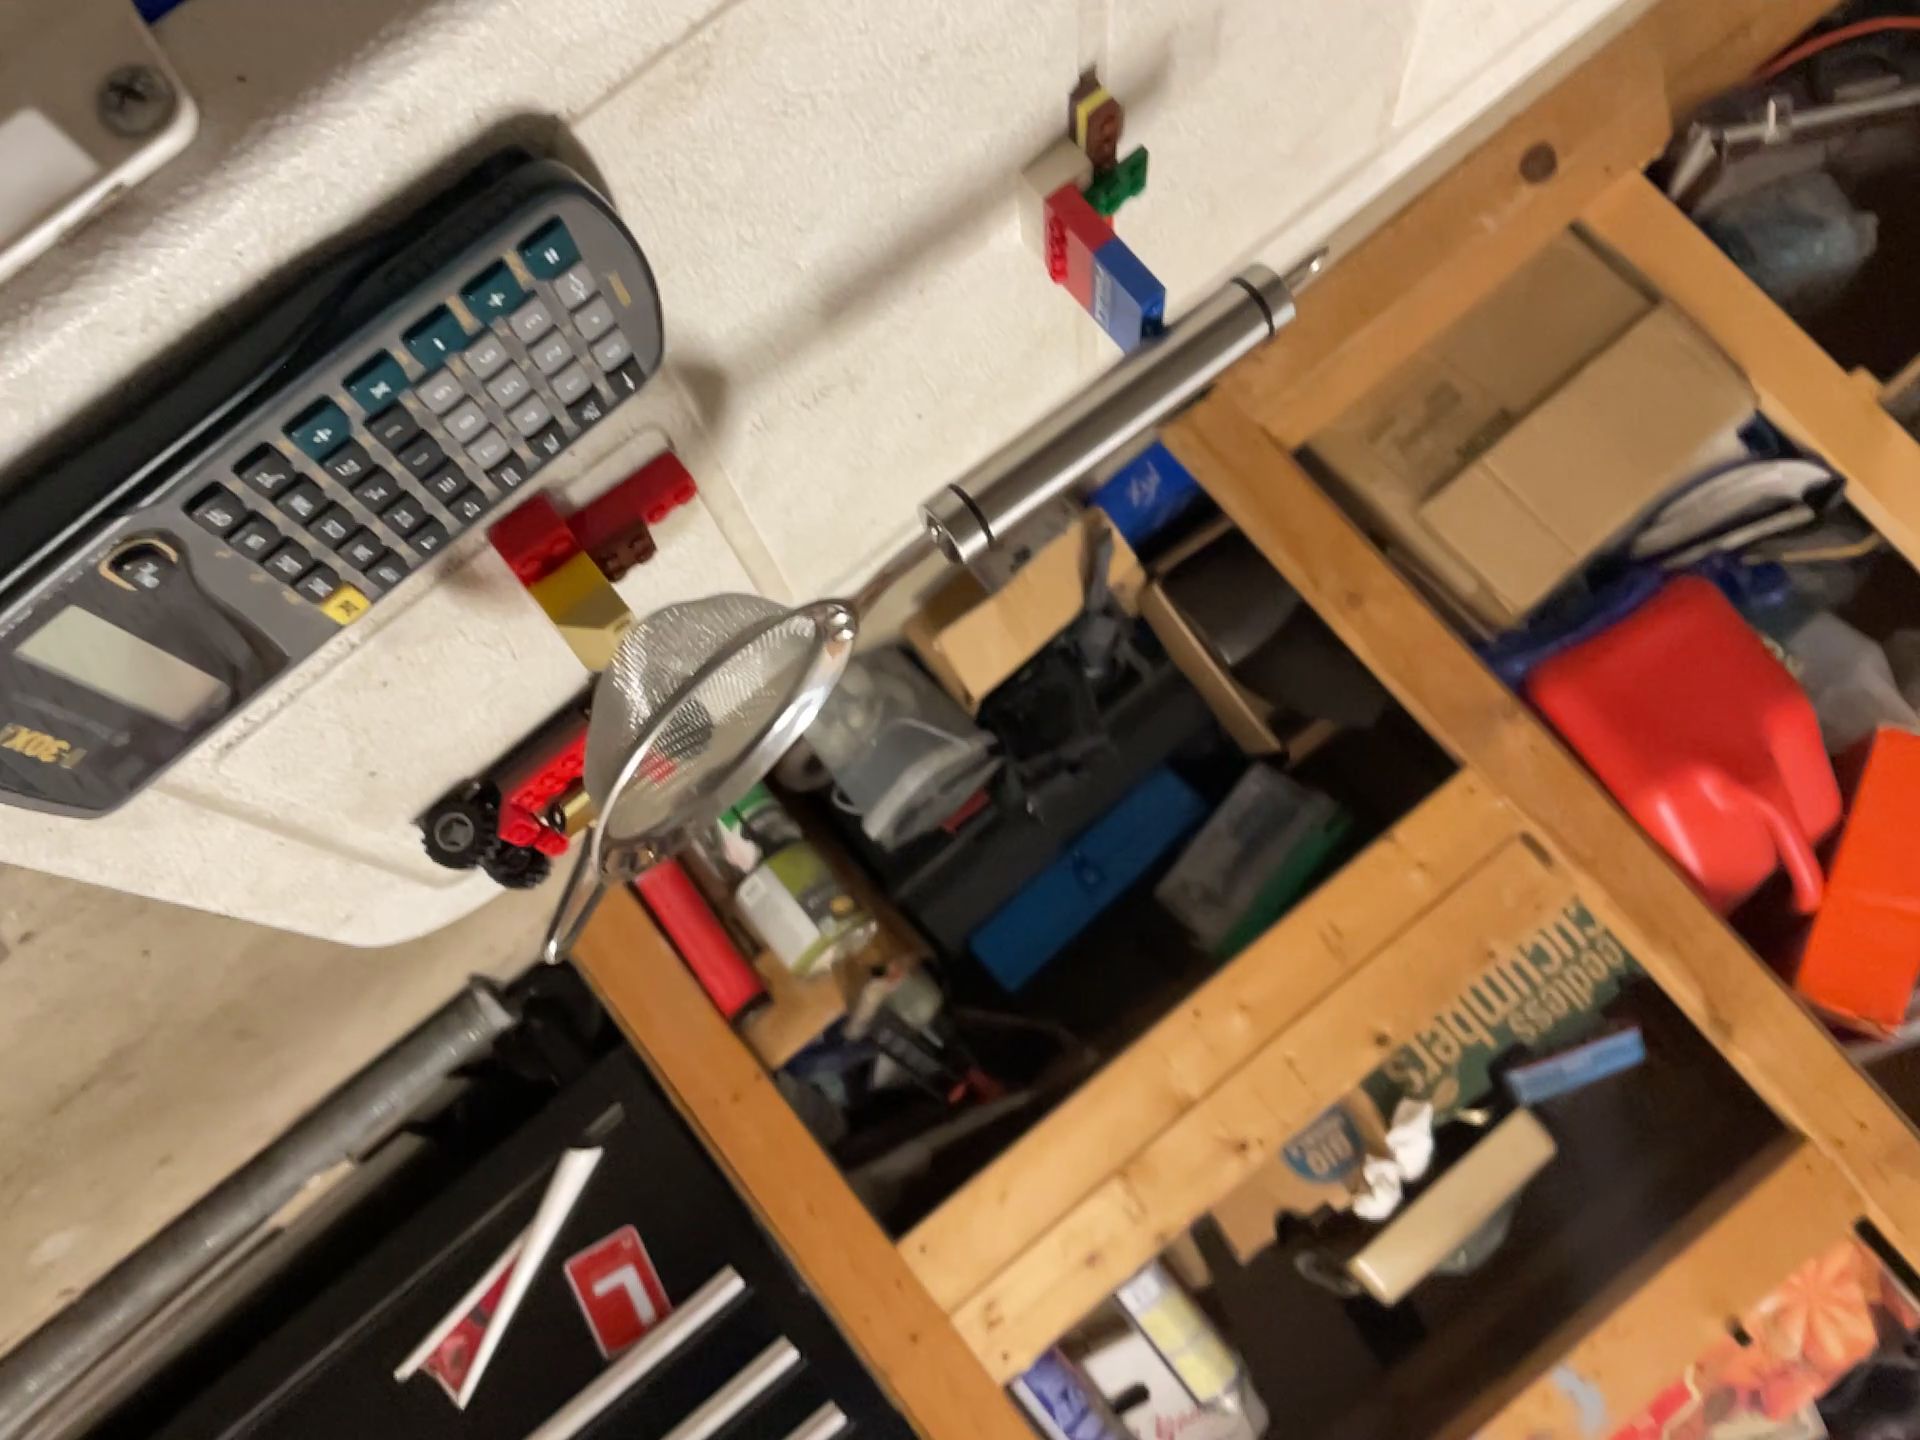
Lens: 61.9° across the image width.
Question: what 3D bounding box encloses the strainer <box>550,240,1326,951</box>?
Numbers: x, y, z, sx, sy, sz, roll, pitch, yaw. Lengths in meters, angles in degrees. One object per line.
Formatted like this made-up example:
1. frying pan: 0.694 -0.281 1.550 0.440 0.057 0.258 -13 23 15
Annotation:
1. strainer: -0.007 -0.044 0.391 0.258 0.050 0.086 -38 168 -11
